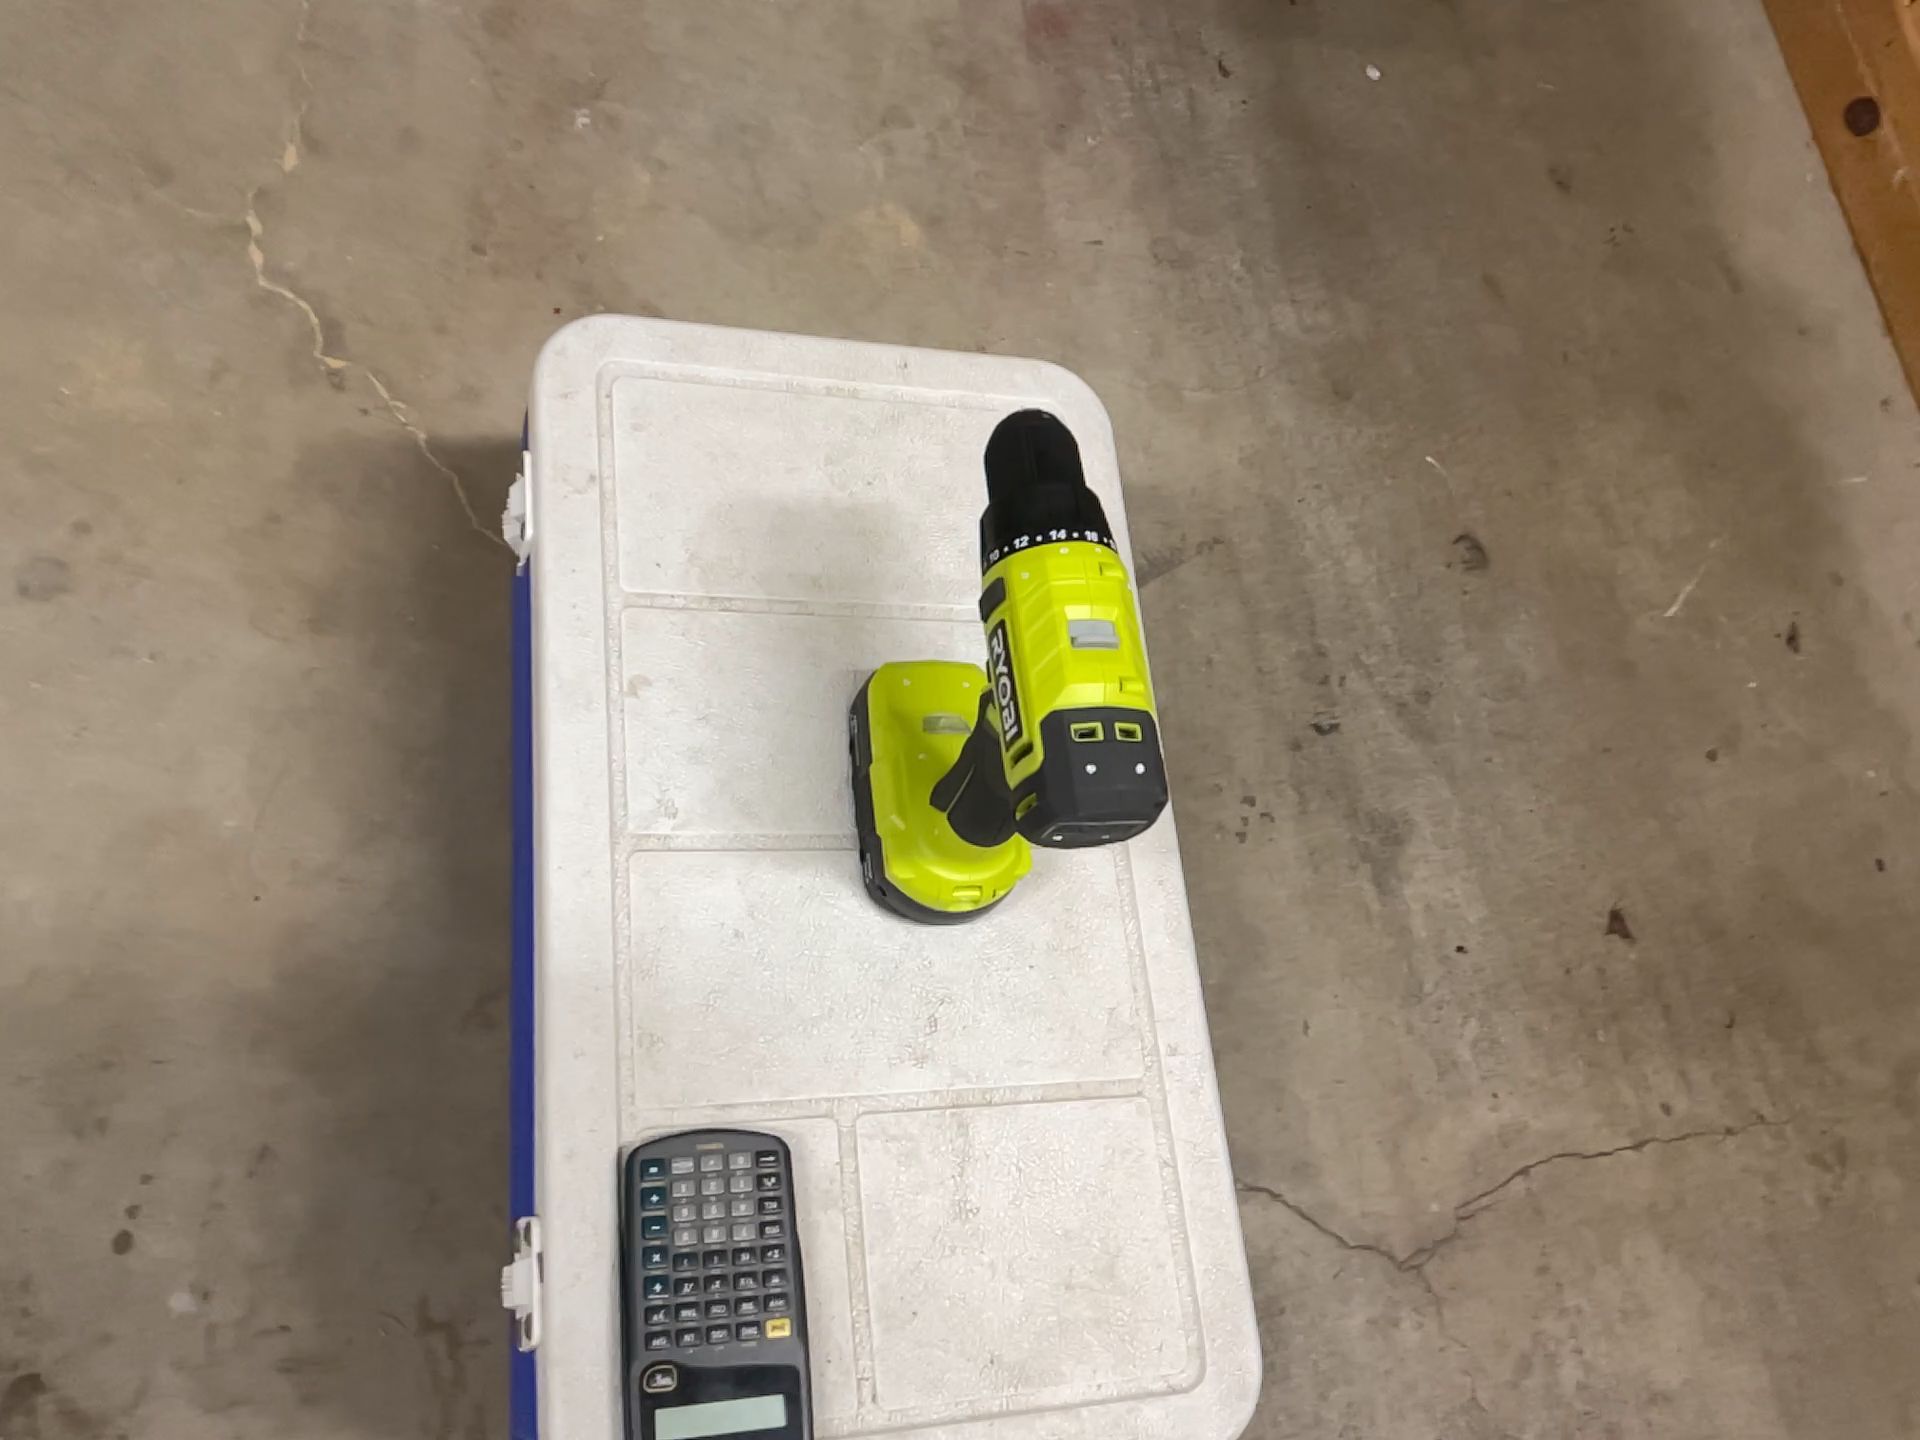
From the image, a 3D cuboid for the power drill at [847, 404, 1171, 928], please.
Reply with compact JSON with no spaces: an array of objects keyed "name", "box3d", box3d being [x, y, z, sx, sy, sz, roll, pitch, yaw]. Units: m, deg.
[{"name":"power drill","box3d":[0.015,-0.013,0.729,0.080,0.228,0.191,0,67,-20]}]
